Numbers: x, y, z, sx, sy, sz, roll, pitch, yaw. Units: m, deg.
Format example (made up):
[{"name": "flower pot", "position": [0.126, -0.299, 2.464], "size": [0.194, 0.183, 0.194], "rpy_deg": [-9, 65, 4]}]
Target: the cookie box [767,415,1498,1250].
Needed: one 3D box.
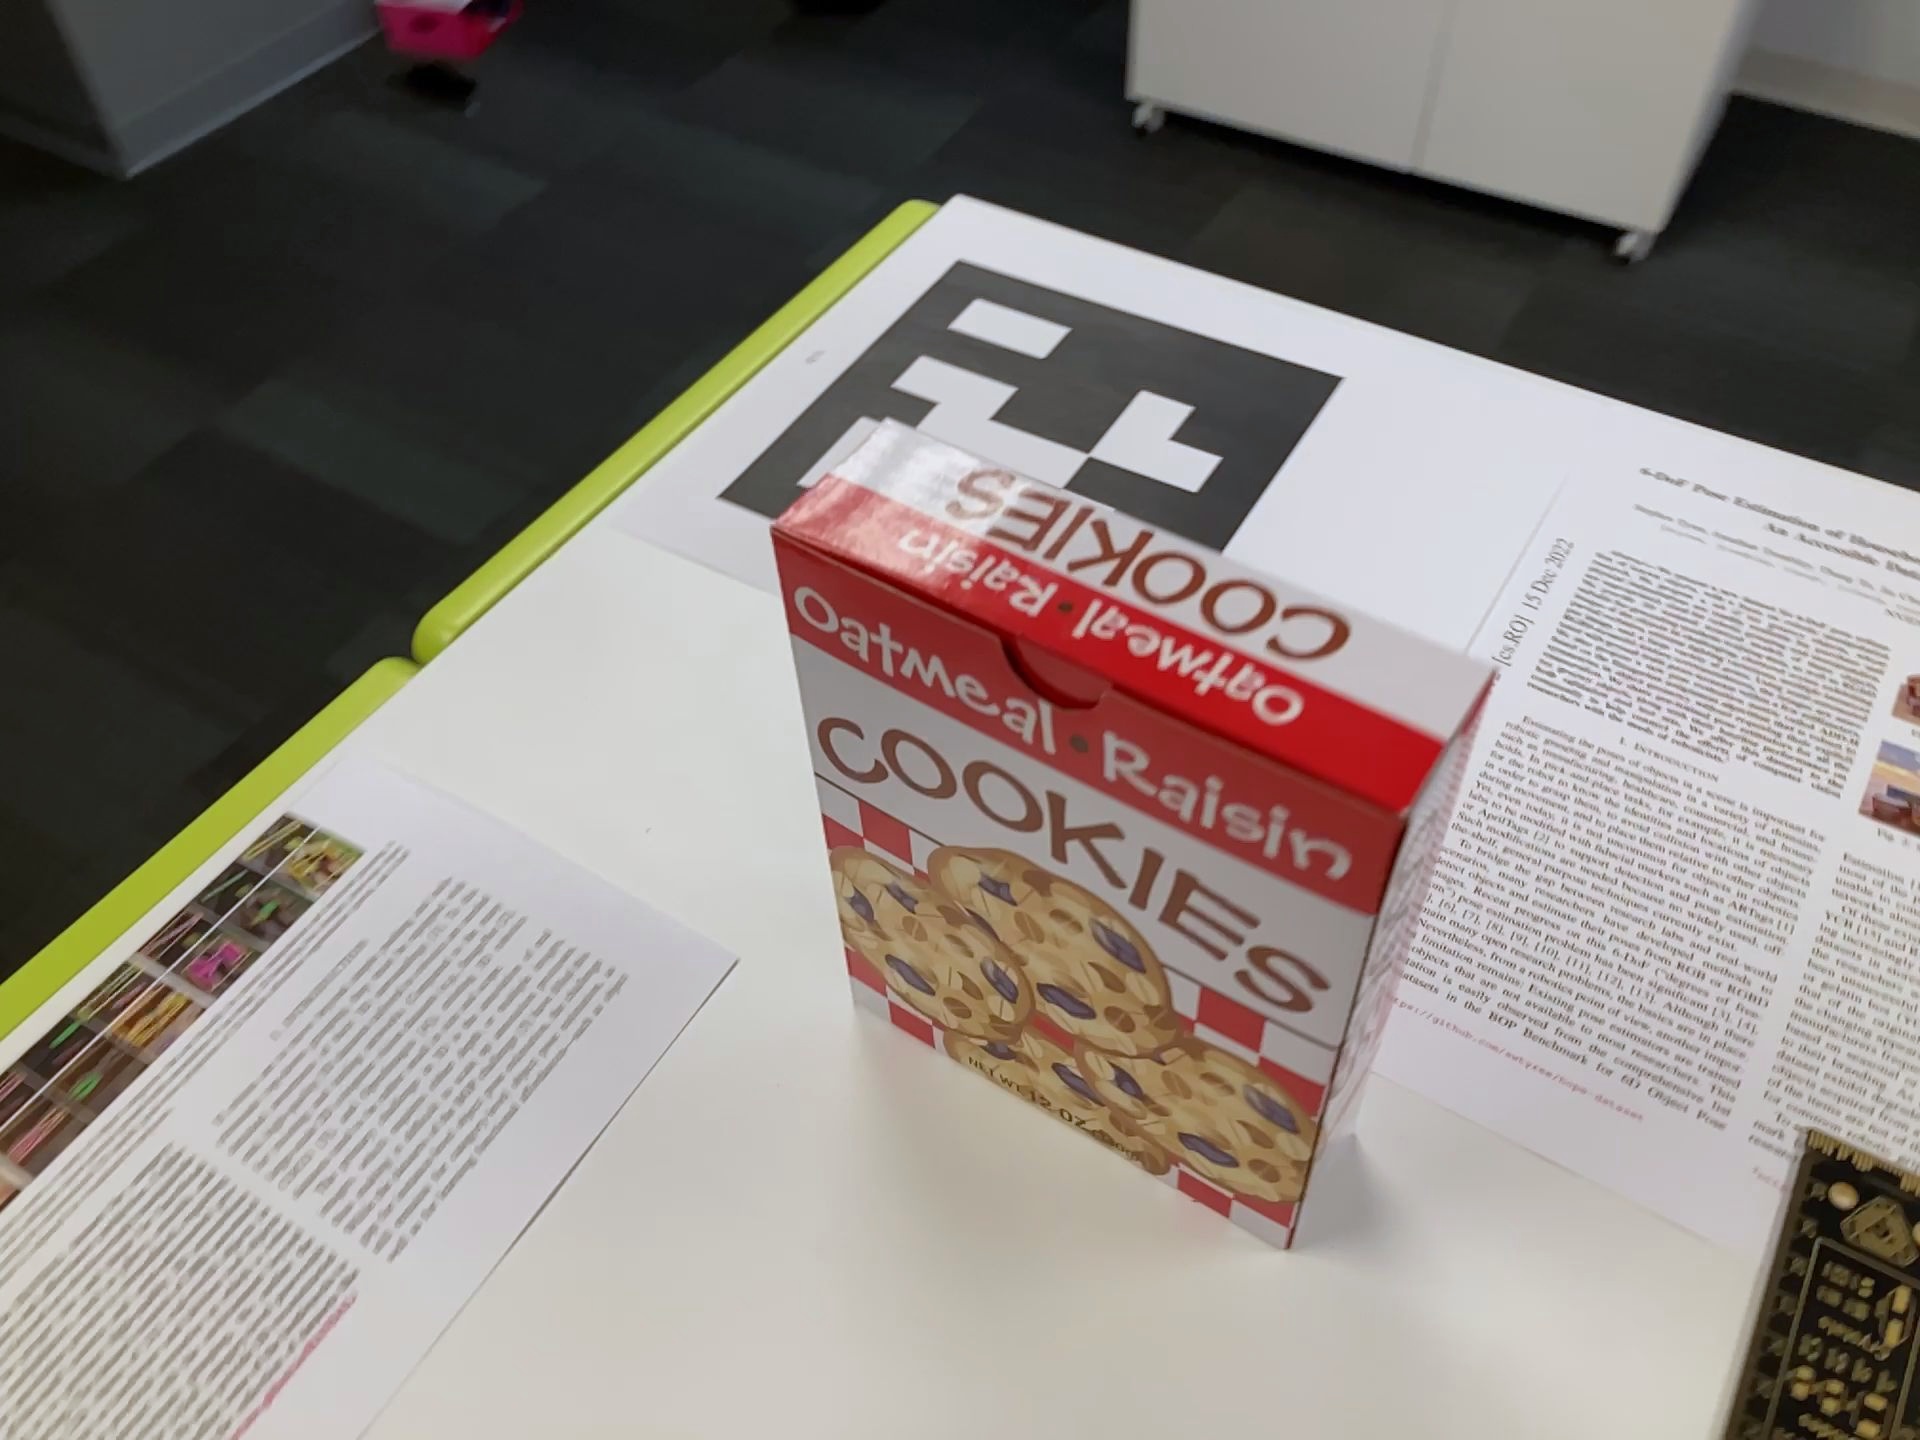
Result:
[{"name": "cookie box", "position": [0.028, 0.031, 0.327], "size": [0.123, 0.167, 0.040], "rpy_deg": [26, 55, 23]}]
